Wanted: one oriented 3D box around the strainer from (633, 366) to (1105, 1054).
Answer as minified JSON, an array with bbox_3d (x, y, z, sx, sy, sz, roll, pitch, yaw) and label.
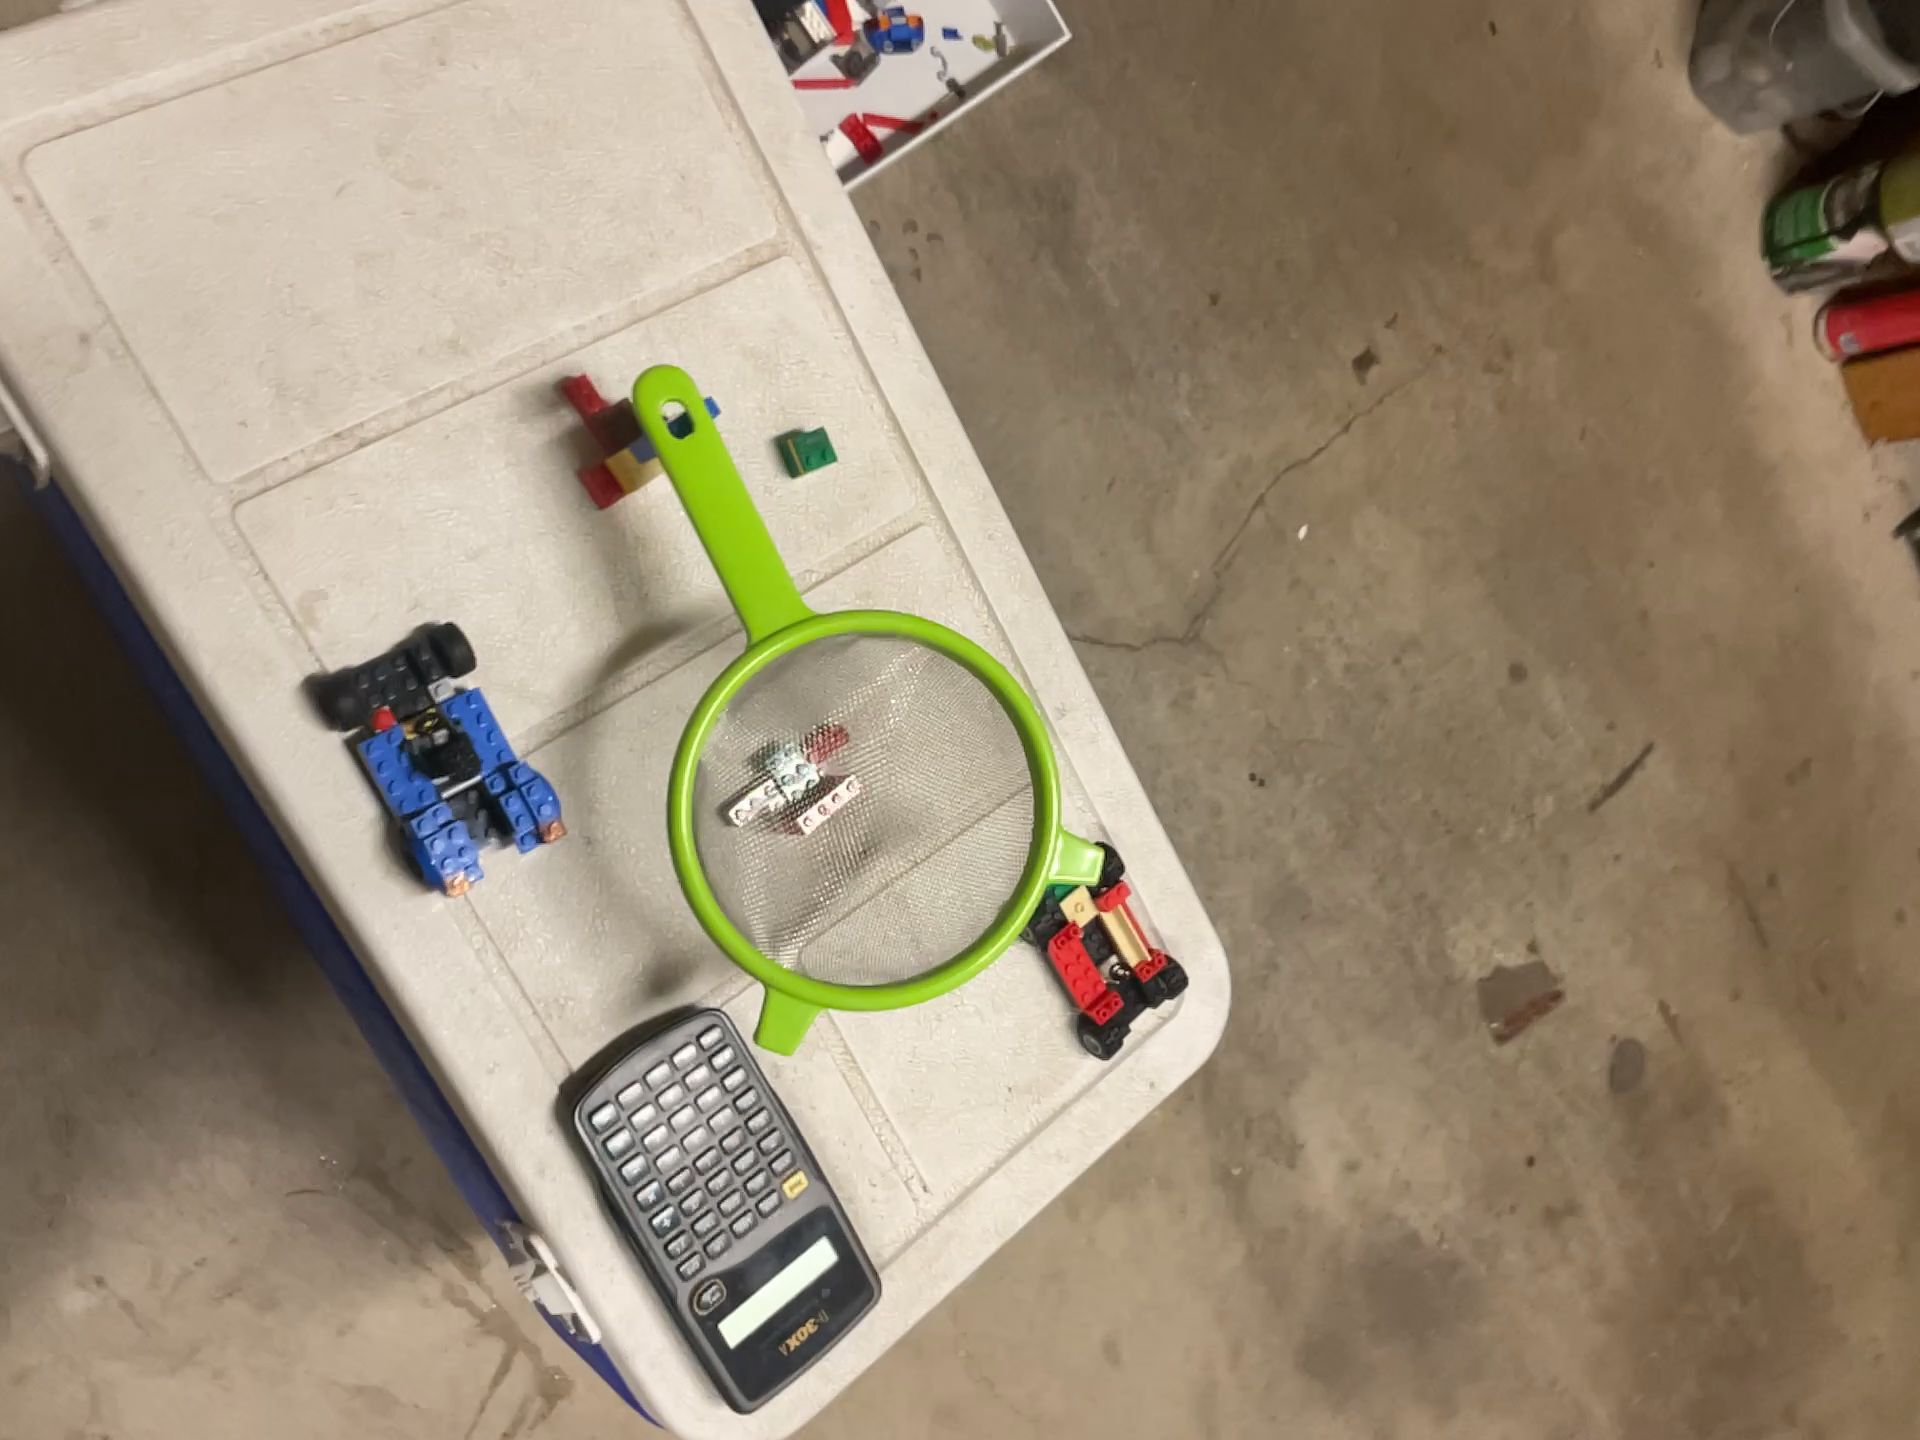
[{"bbox_3d":[-0.064,-0.013,0.623,0.151,0.069,0.256,-27,93,-15],"label":"strainer"}]
